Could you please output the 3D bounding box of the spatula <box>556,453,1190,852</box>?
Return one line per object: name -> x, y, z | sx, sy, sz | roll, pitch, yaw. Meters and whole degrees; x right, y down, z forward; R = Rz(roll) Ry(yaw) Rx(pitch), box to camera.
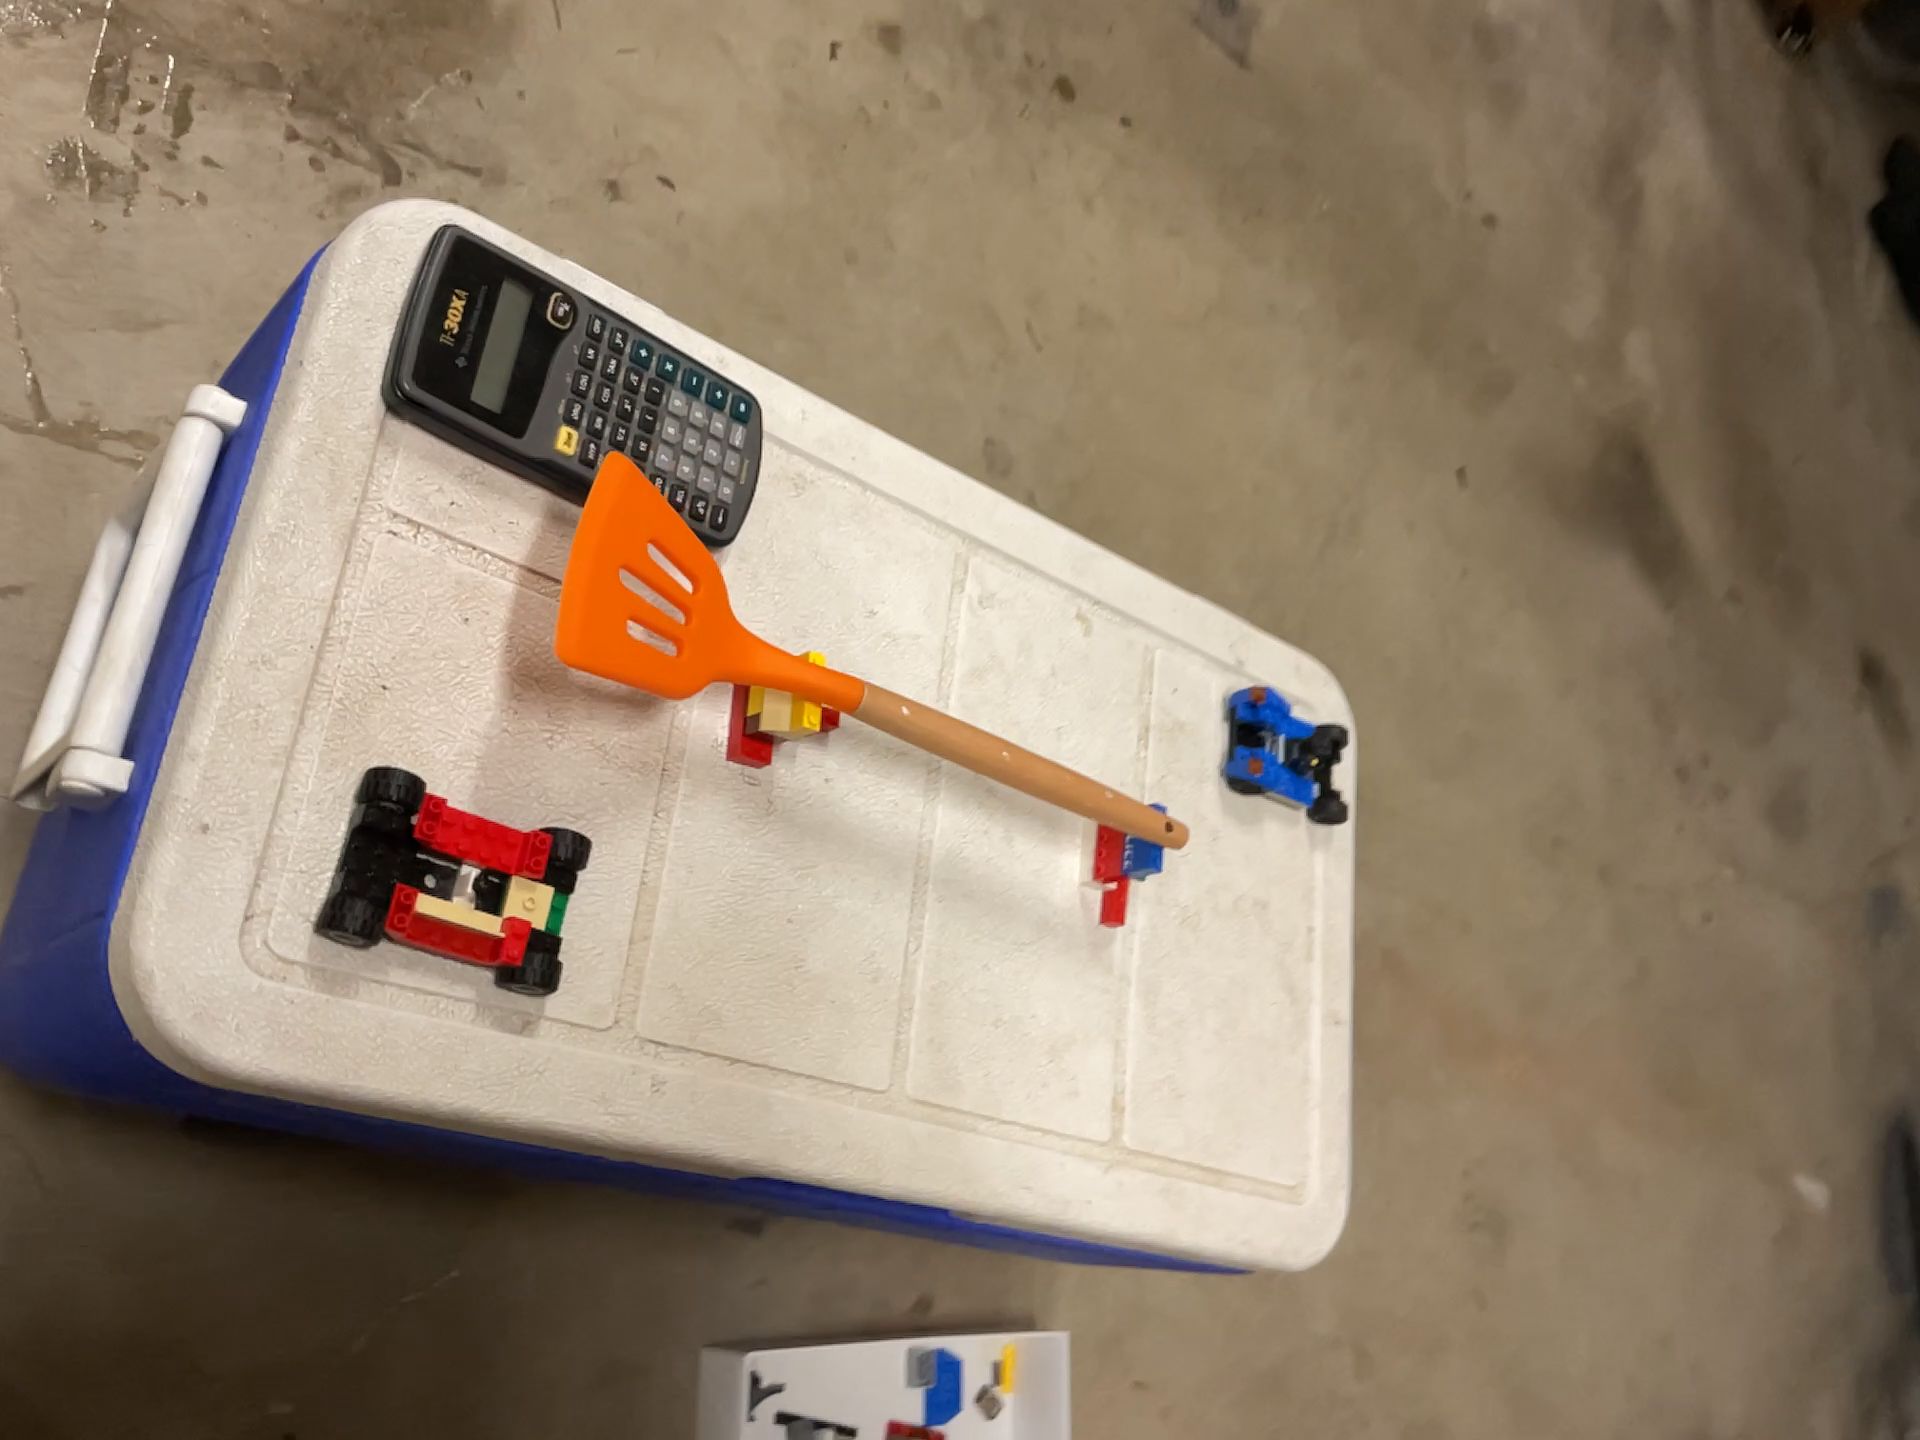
spatula -> -0.018, -0.001, 0.639 | 0.322, 0.041, 0.081 | 24, 66, -33
